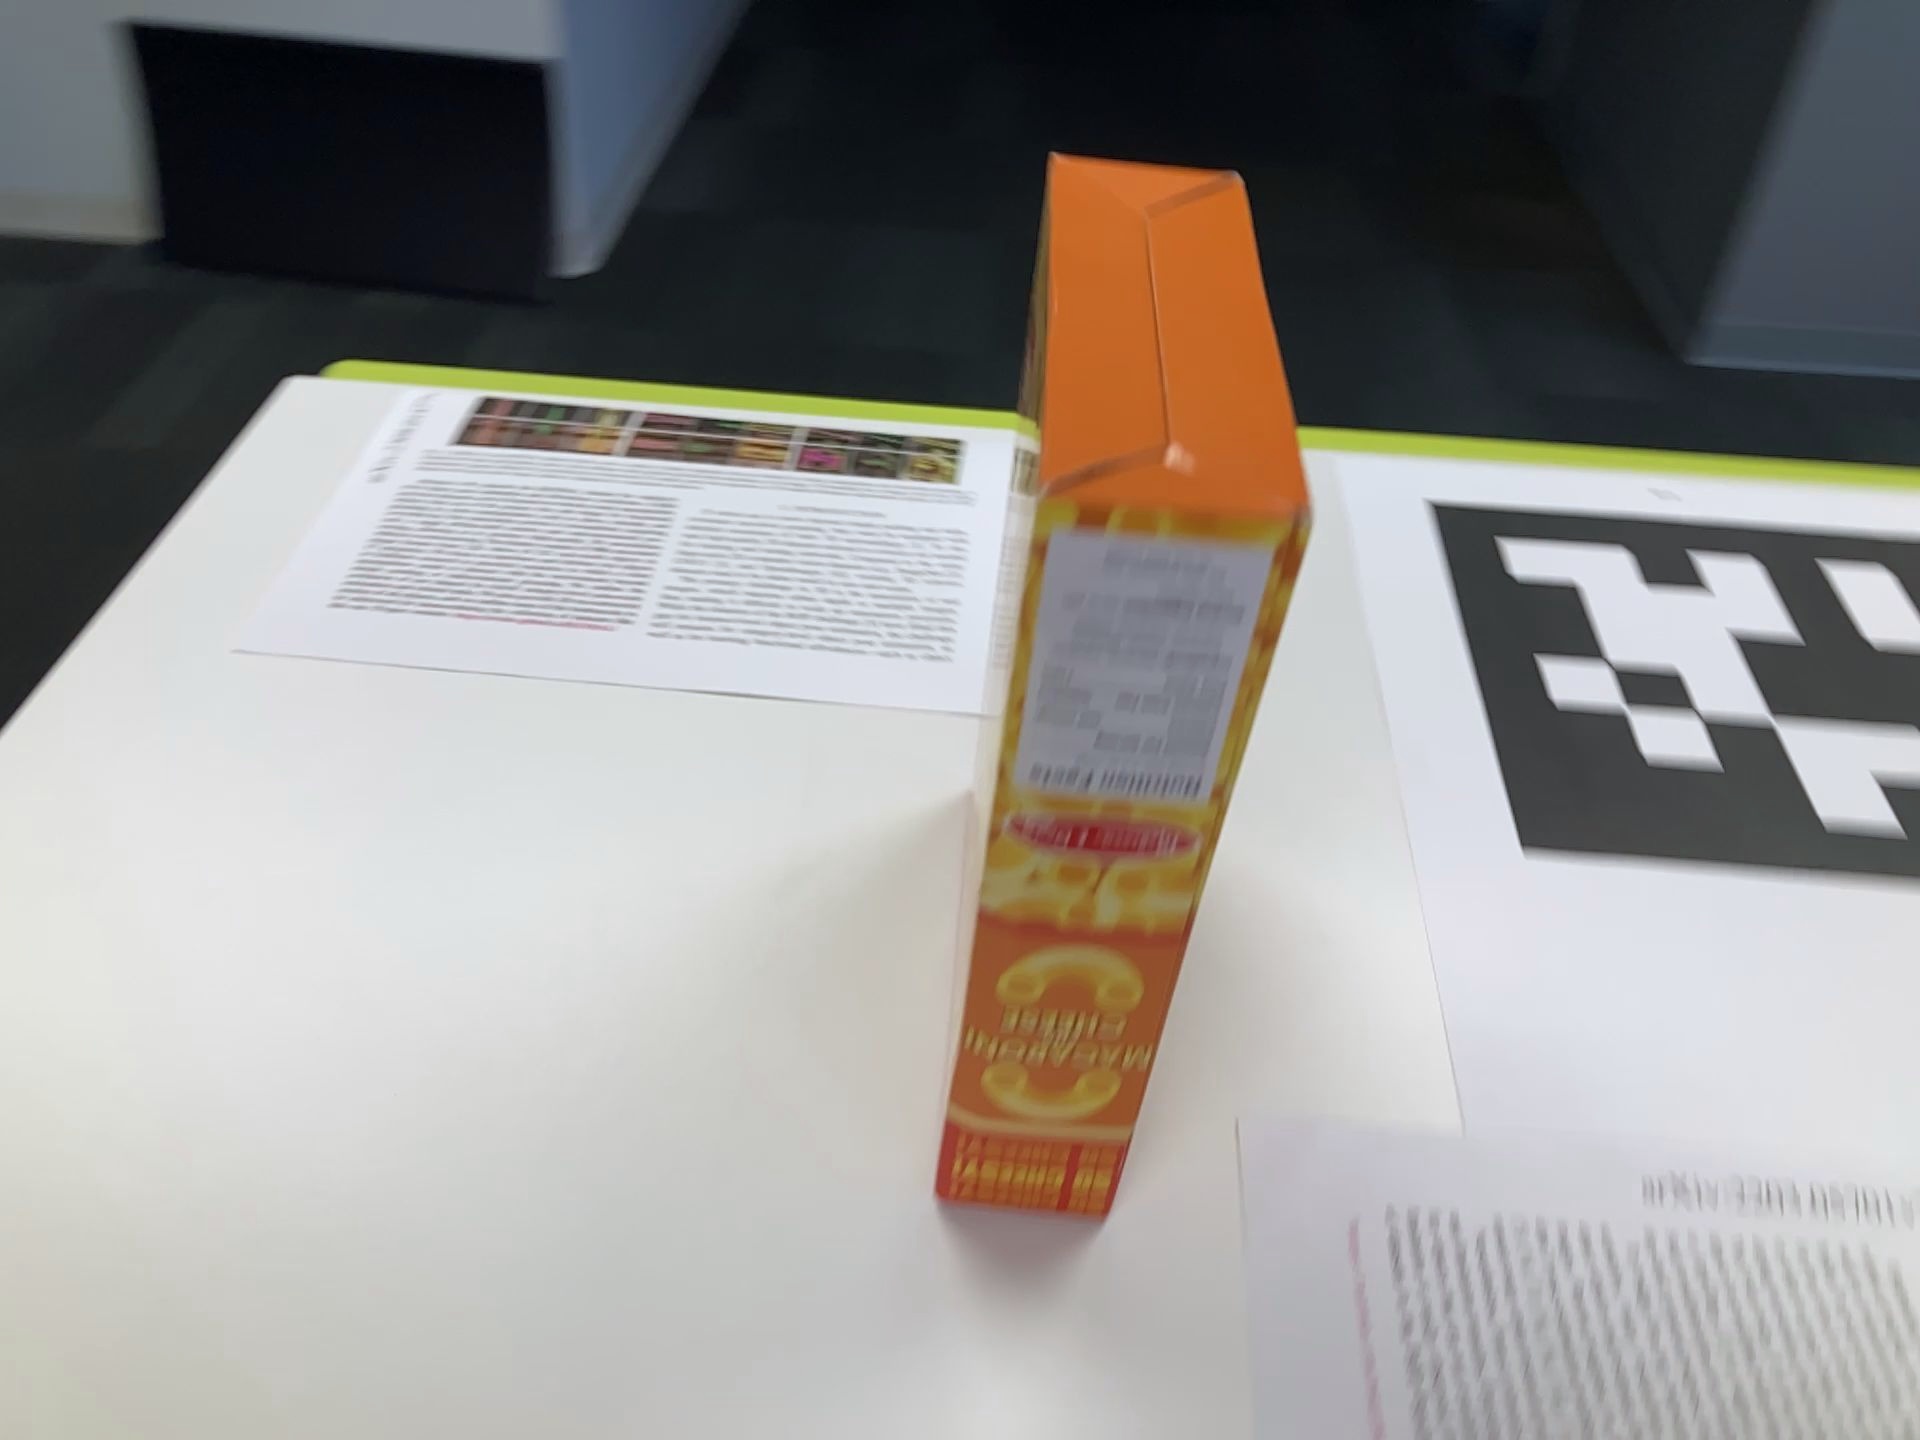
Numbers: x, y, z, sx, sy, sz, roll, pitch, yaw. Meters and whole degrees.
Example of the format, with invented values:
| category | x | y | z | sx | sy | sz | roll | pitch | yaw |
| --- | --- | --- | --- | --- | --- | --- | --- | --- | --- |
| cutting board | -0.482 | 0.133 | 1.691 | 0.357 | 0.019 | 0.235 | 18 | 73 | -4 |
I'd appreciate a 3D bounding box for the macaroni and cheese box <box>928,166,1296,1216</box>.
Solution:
| category | x | y | z | sx | sy | sz | roll | pitch | yaw |
| --- | --- | --- | --- | --- | --- | --- | --- | --- | --- |
| macaroni and cheese box | 0.025 | -0.003 | 0.313 | 0.040 | 0.166 | 0.124 | 7 | 39 | 0 |
